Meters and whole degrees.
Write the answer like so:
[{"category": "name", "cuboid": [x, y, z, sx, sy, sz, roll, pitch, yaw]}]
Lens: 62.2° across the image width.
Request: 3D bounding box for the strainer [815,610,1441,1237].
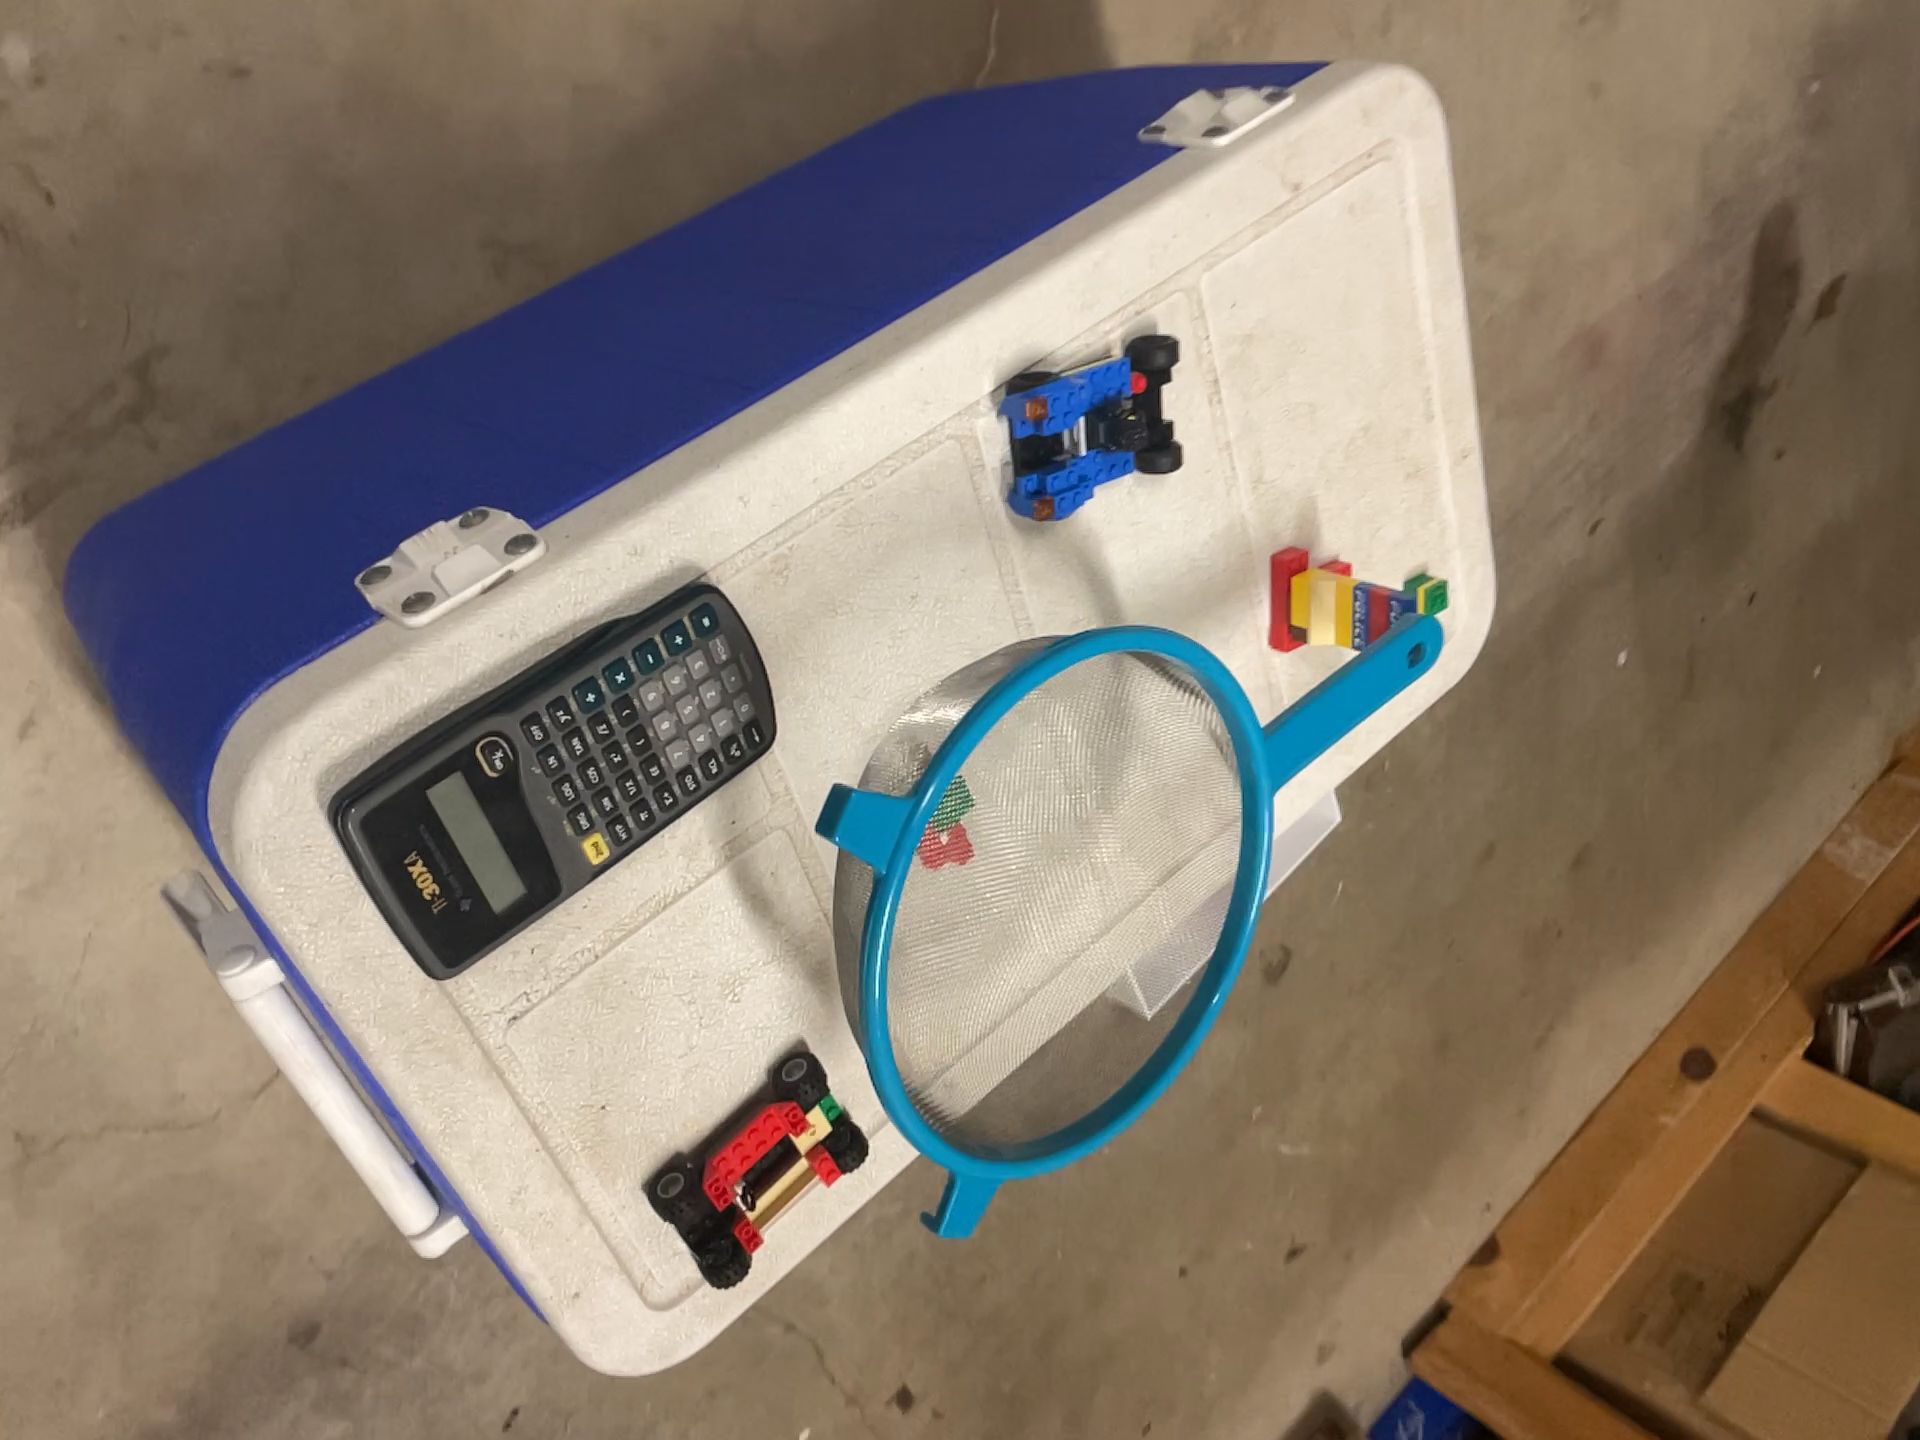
[{"category": "strainer", "cuboid": [0.065, 0.029, 0.643, 0.340, 0.095, 0.210, -33, 125, -33]}]
